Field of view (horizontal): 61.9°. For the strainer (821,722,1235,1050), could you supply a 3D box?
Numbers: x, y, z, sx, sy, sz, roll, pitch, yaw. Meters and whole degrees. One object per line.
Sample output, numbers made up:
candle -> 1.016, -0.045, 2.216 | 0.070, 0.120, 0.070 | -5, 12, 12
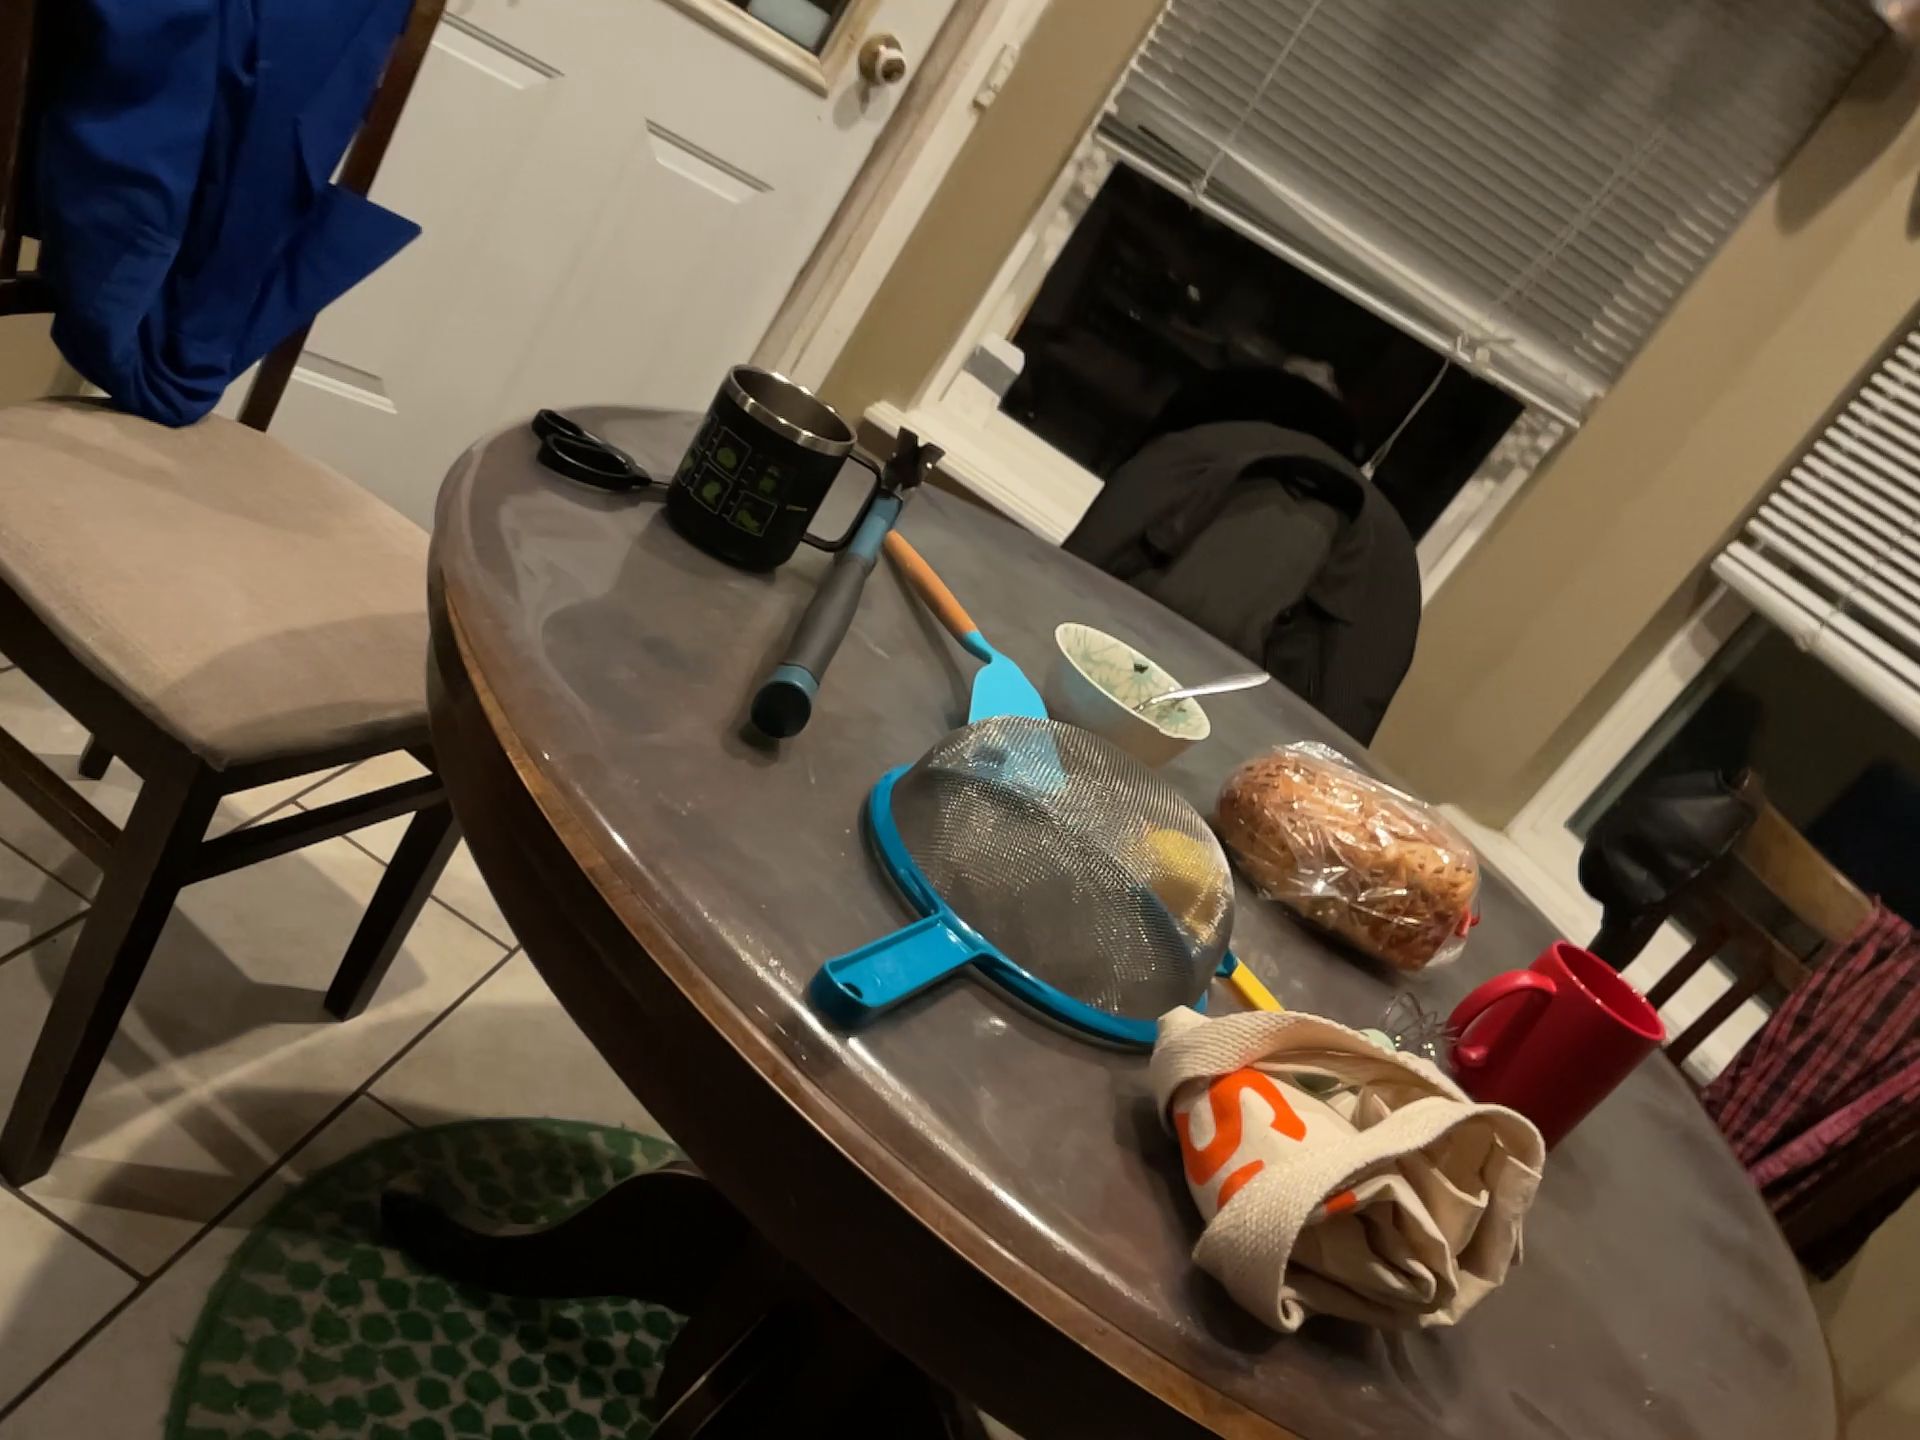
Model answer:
strainer -> 0.038, 0.069, 0.775 | 0.211, 0.095, 0.340 | 39, 17, 16

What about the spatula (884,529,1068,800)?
spatula -> -0.007, -0.055, 1.088 | 0.082, 0.044, 0.318 | 20, 21, -31

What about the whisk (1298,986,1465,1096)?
whisk -> 0.218, 0.173, 0.838 | 0.246, 0.058, 0.059 | 12, 59, -62

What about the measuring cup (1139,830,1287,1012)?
measuring cup -> 0.155, 0.119, 0.928 | 0.062, 0.029, 0.157 | 15, 26, -40

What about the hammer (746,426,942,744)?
hammer -> -0.071, -0.080, 0.958 | 0.033, 0.128, 0.331 | 28, 30, -7
